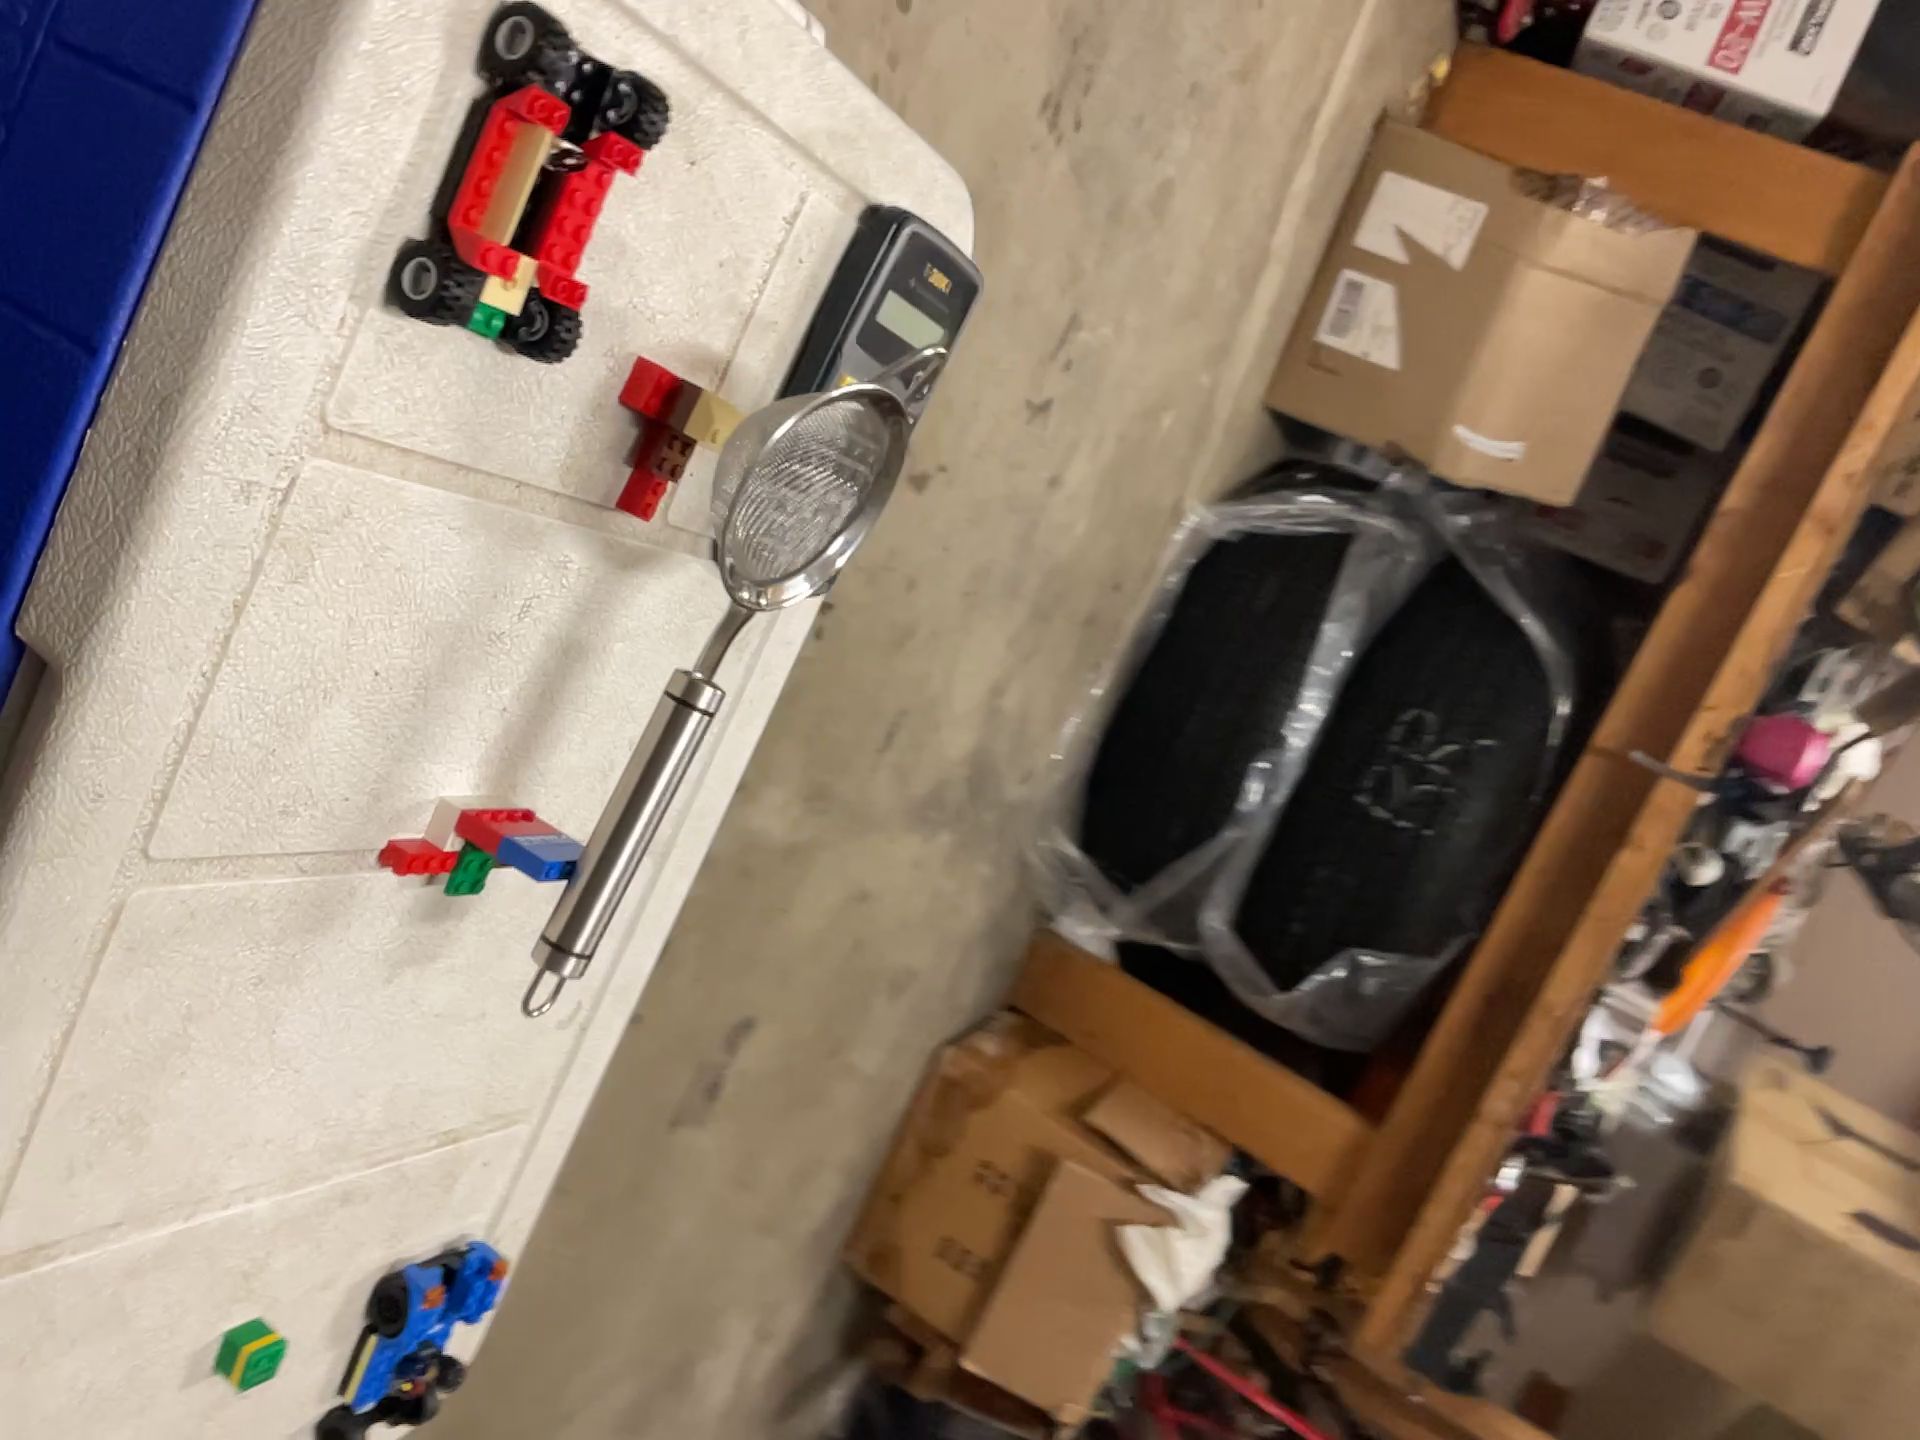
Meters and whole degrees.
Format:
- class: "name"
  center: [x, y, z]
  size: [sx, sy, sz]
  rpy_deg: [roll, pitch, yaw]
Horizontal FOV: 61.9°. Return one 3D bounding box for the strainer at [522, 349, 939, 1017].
- class: "strainer"
  center: [-0.087, -0.015, 0.532]
  size: [0.258, 0.050, 0.087]
  rpy_deg: [-62, 157, 3]
